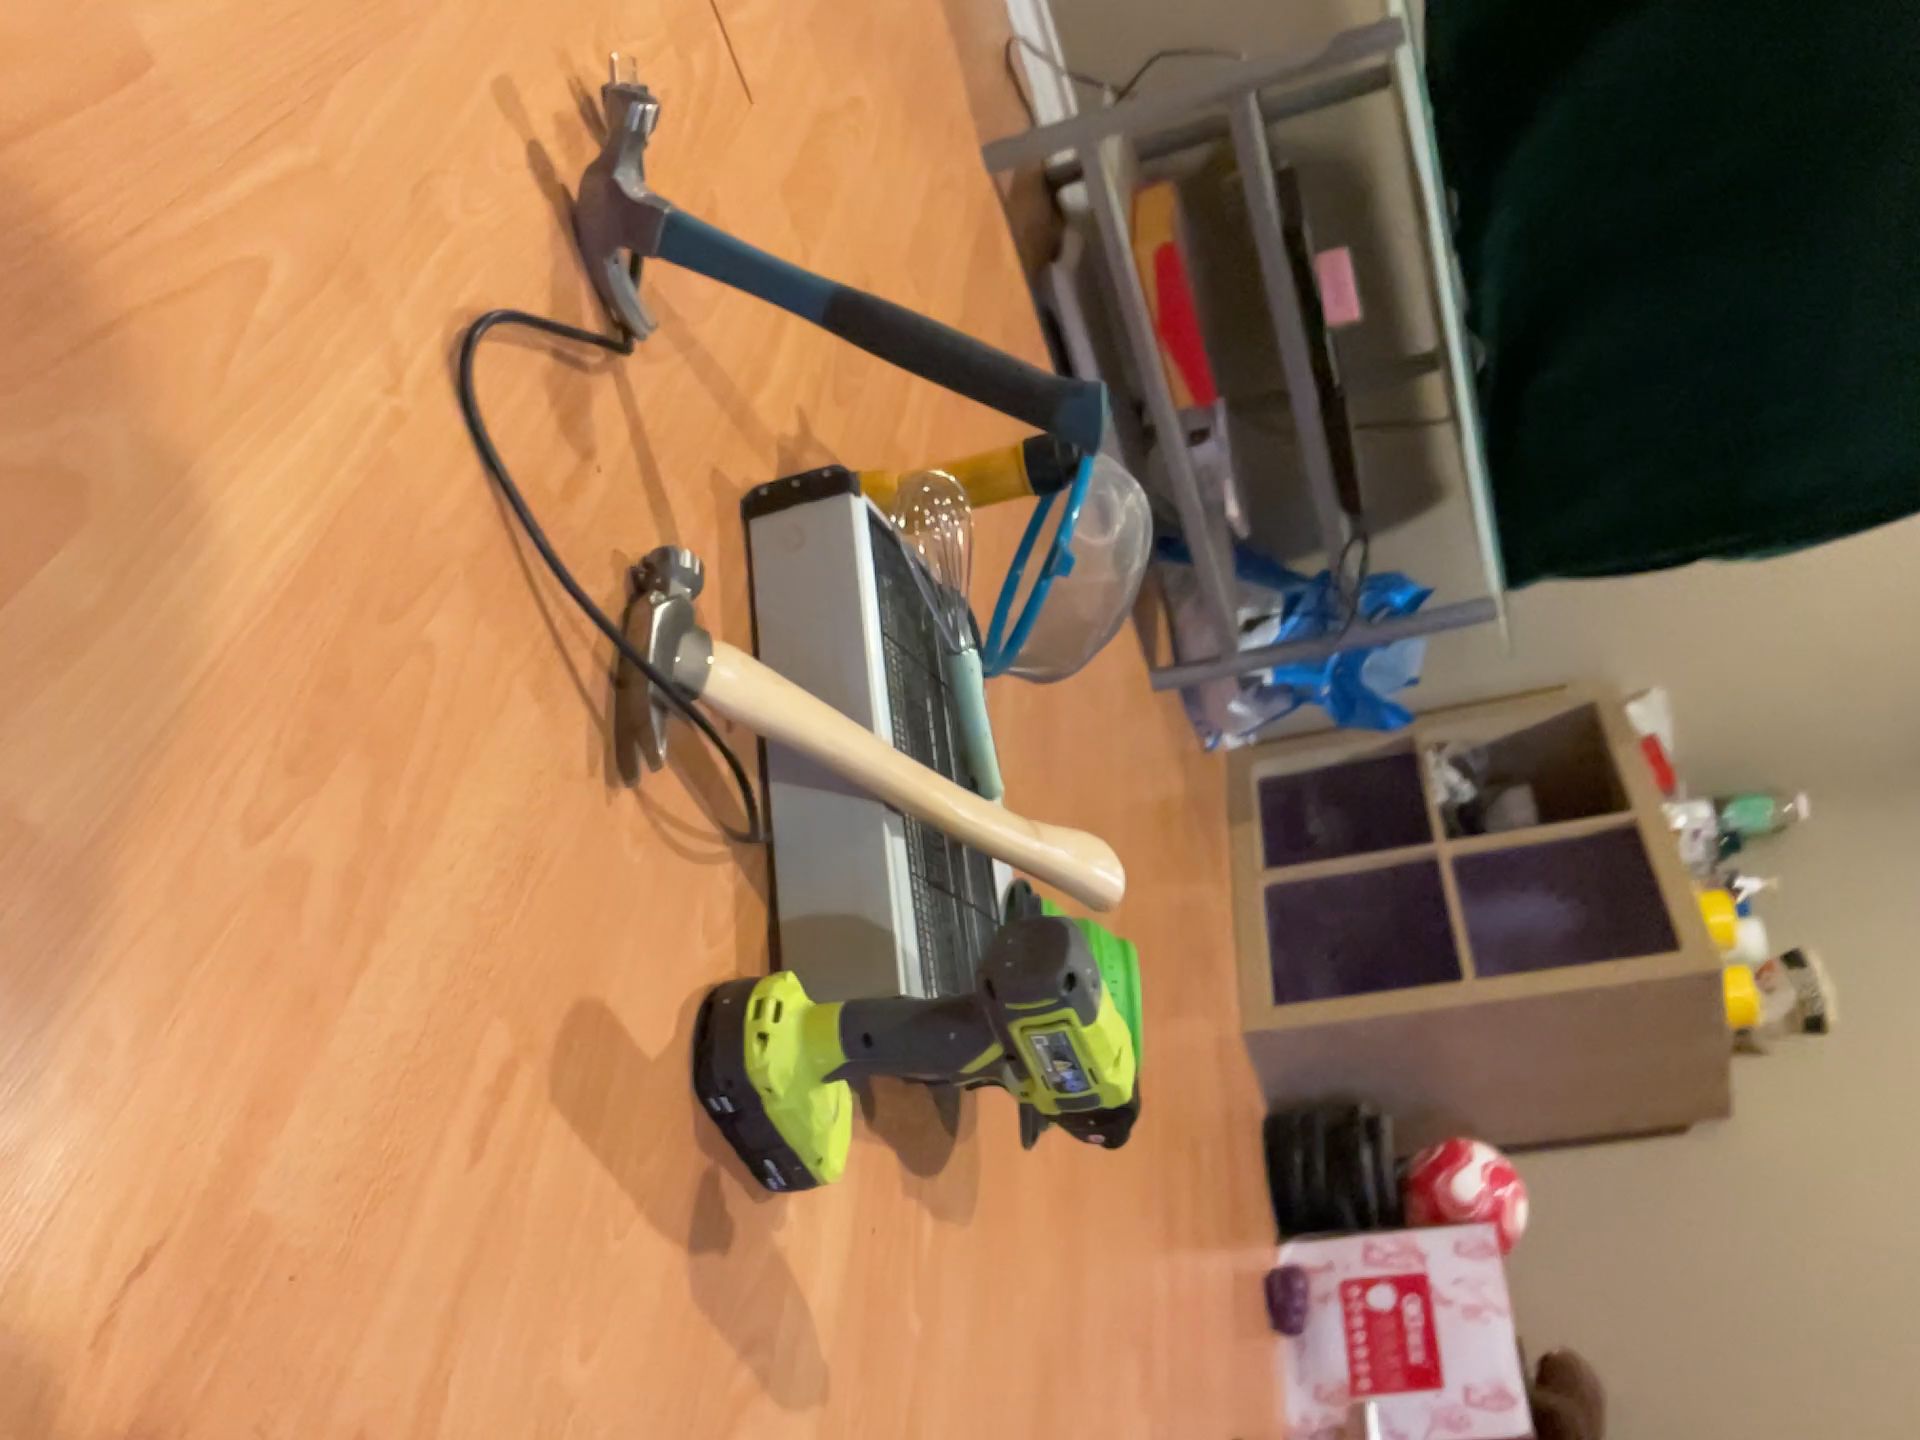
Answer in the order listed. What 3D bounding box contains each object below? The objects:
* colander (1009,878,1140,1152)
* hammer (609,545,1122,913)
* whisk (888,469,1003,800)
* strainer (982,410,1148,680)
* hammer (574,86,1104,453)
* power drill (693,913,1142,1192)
[{"bbox_3d":[0.088,0.236,1.298,0.397,0.094,0.204,85,3,-80],"label":"colander"},{"bbox_3d":[-0.038,0.045,0.983,0.410,0.038,0.146,30,44,-37],"label":"hammer"},{"bbox_3d":[-0.003,-0.059,1.155,0.058,0.059,0.246,-150,-134,-70],"label":"whisk"},{"bbox_3d":[0.077,-0.079,1.334,0.340,0.095,0.211,115,-6,-50],"label":"strainer"},{"bbox_3d":[-0.066,-0.239,0.931,0.033,0.331,0.128,-76,-170,-58],"label":"hammer"},{"bbox_3d":[-0.017,0.193,0.886,0.080,0.223,0.171,-83,157,-48],"label":"power drill"}]
